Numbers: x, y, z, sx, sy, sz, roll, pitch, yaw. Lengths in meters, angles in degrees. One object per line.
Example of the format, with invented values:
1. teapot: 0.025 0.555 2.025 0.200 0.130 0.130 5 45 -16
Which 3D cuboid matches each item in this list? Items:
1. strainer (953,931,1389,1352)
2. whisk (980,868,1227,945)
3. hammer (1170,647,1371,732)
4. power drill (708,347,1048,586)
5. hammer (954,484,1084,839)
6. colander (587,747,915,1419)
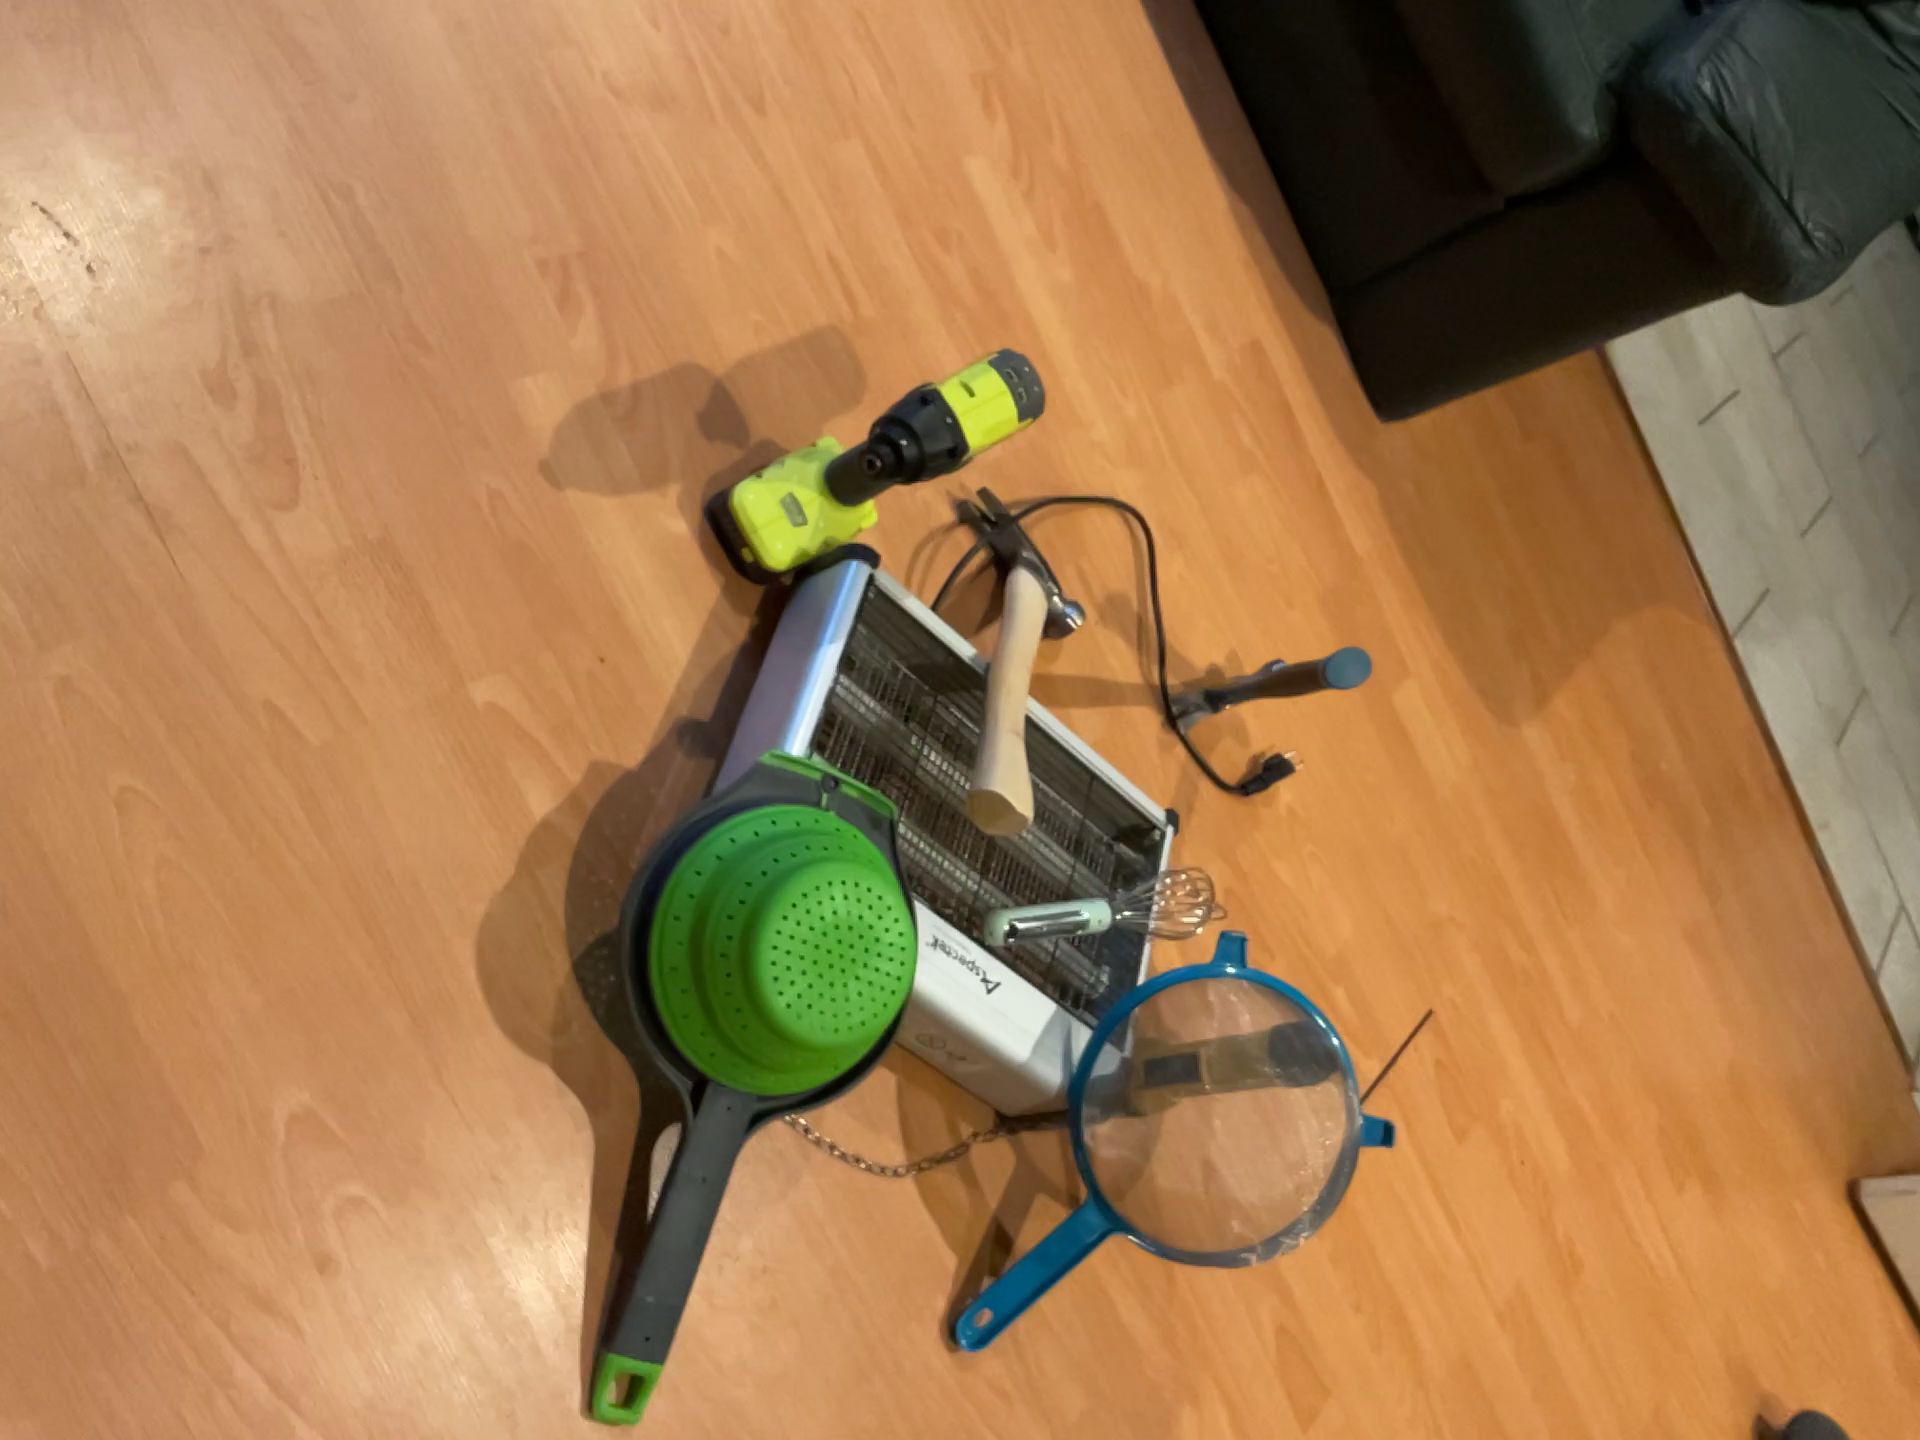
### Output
1. strainer: 0.136 0.317 1.090 0.340 0.095 0.211 -39 94 -10
2. whisk: 0.108 0.143 1.178 0.246 0.059 0.057 0 104 -42
3. hammer: 0.268 -0.032 1.354 0.128 0.331 0.033 -21 90 -8
4. power drill: -0.066 -0.174 1.110 0.171 0.223 0.080 -37 102 -46
5. hammer: 0.032 -0.045 1.185 0.146 0.038 0.411 52 21 -19
6. colander: -0.120 0.212 0.934 0.204 0.094 0.397 27 73 -28
